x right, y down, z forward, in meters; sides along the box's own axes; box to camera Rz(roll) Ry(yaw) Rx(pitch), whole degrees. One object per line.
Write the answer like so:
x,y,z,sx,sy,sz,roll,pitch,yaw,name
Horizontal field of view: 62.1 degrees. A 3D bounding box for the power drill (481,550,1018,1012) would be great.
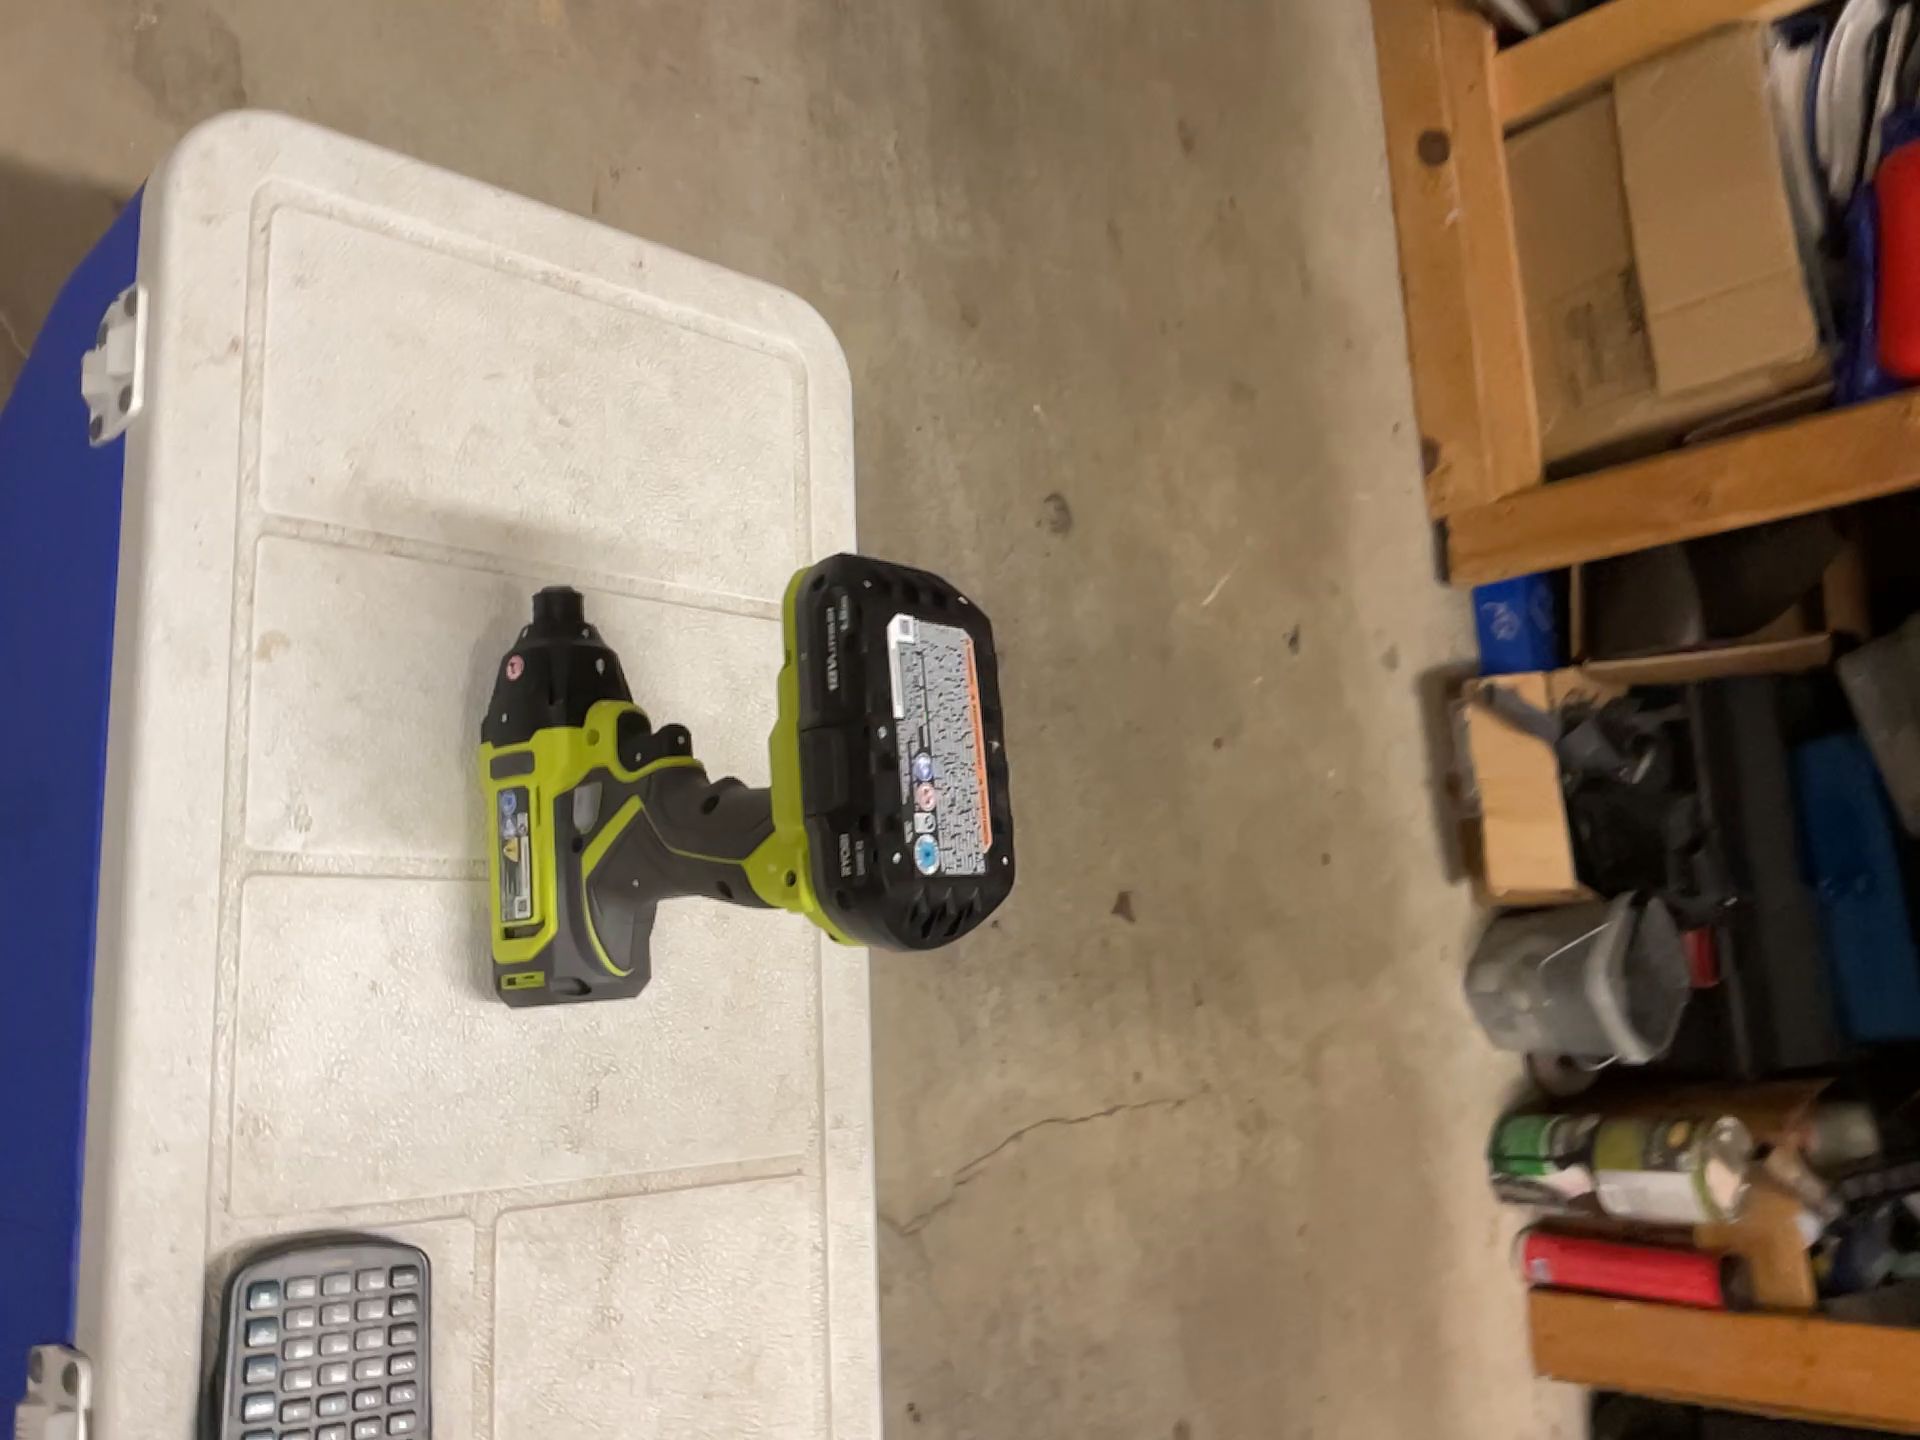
-0.094,0.017,0.599,0.080,0.223,0.171,8,75,-53,power drill
